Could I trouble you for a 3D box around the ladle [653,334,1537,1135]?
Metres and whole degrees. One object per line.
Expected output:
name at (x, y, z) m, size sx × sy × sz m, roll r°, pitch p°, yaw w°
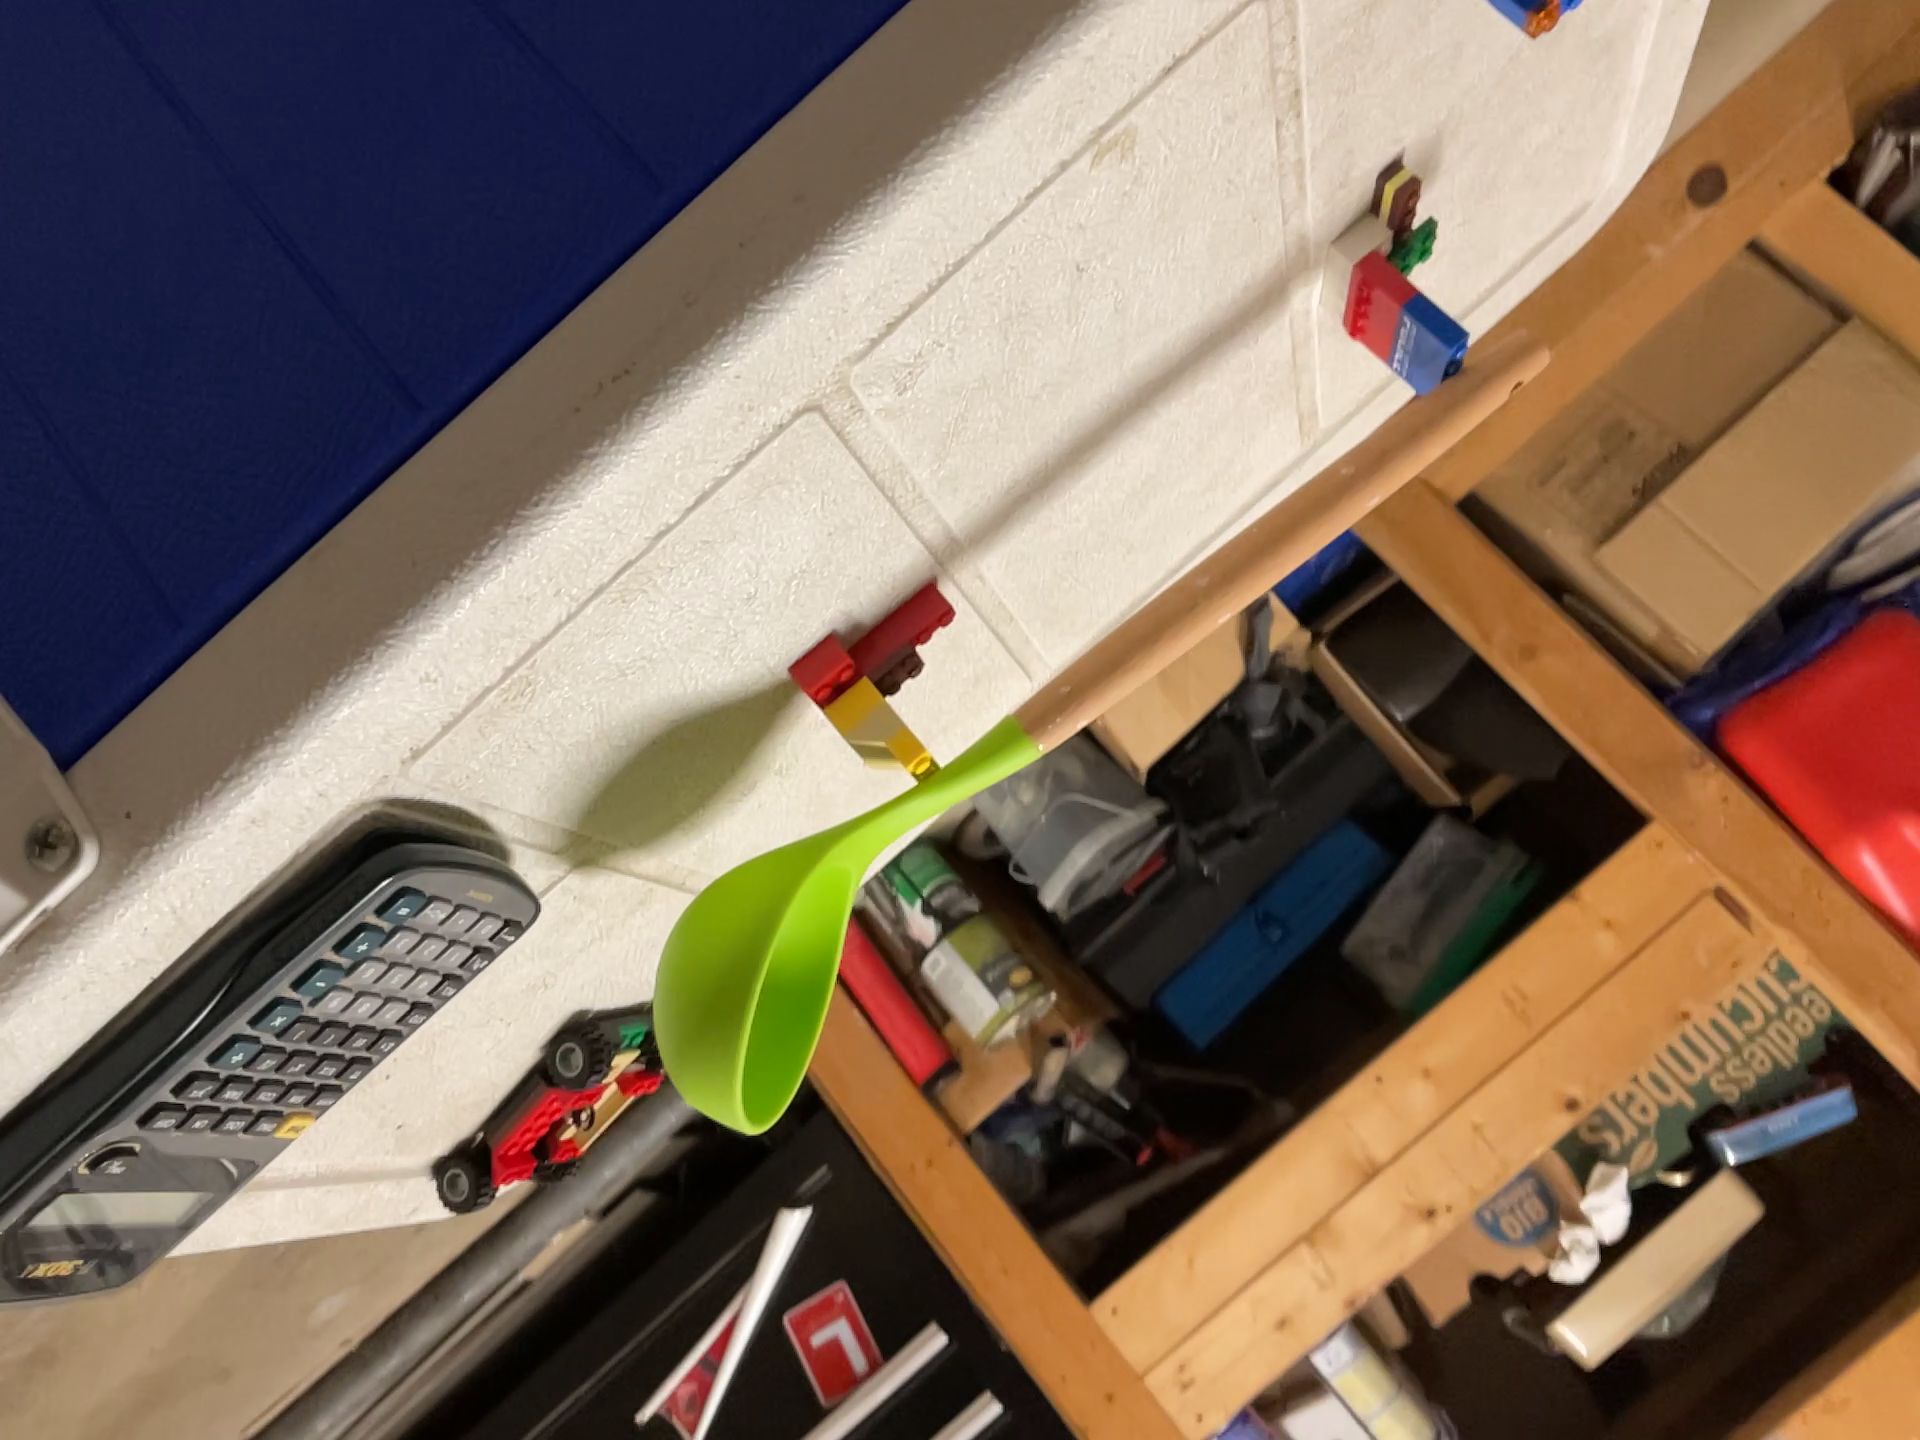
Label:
ladle at (0.046, -0.002, 0.450) m, size 0.320 × 0.062 × 0.078 m, roll -38°, pitch 161°, yaw -4°
